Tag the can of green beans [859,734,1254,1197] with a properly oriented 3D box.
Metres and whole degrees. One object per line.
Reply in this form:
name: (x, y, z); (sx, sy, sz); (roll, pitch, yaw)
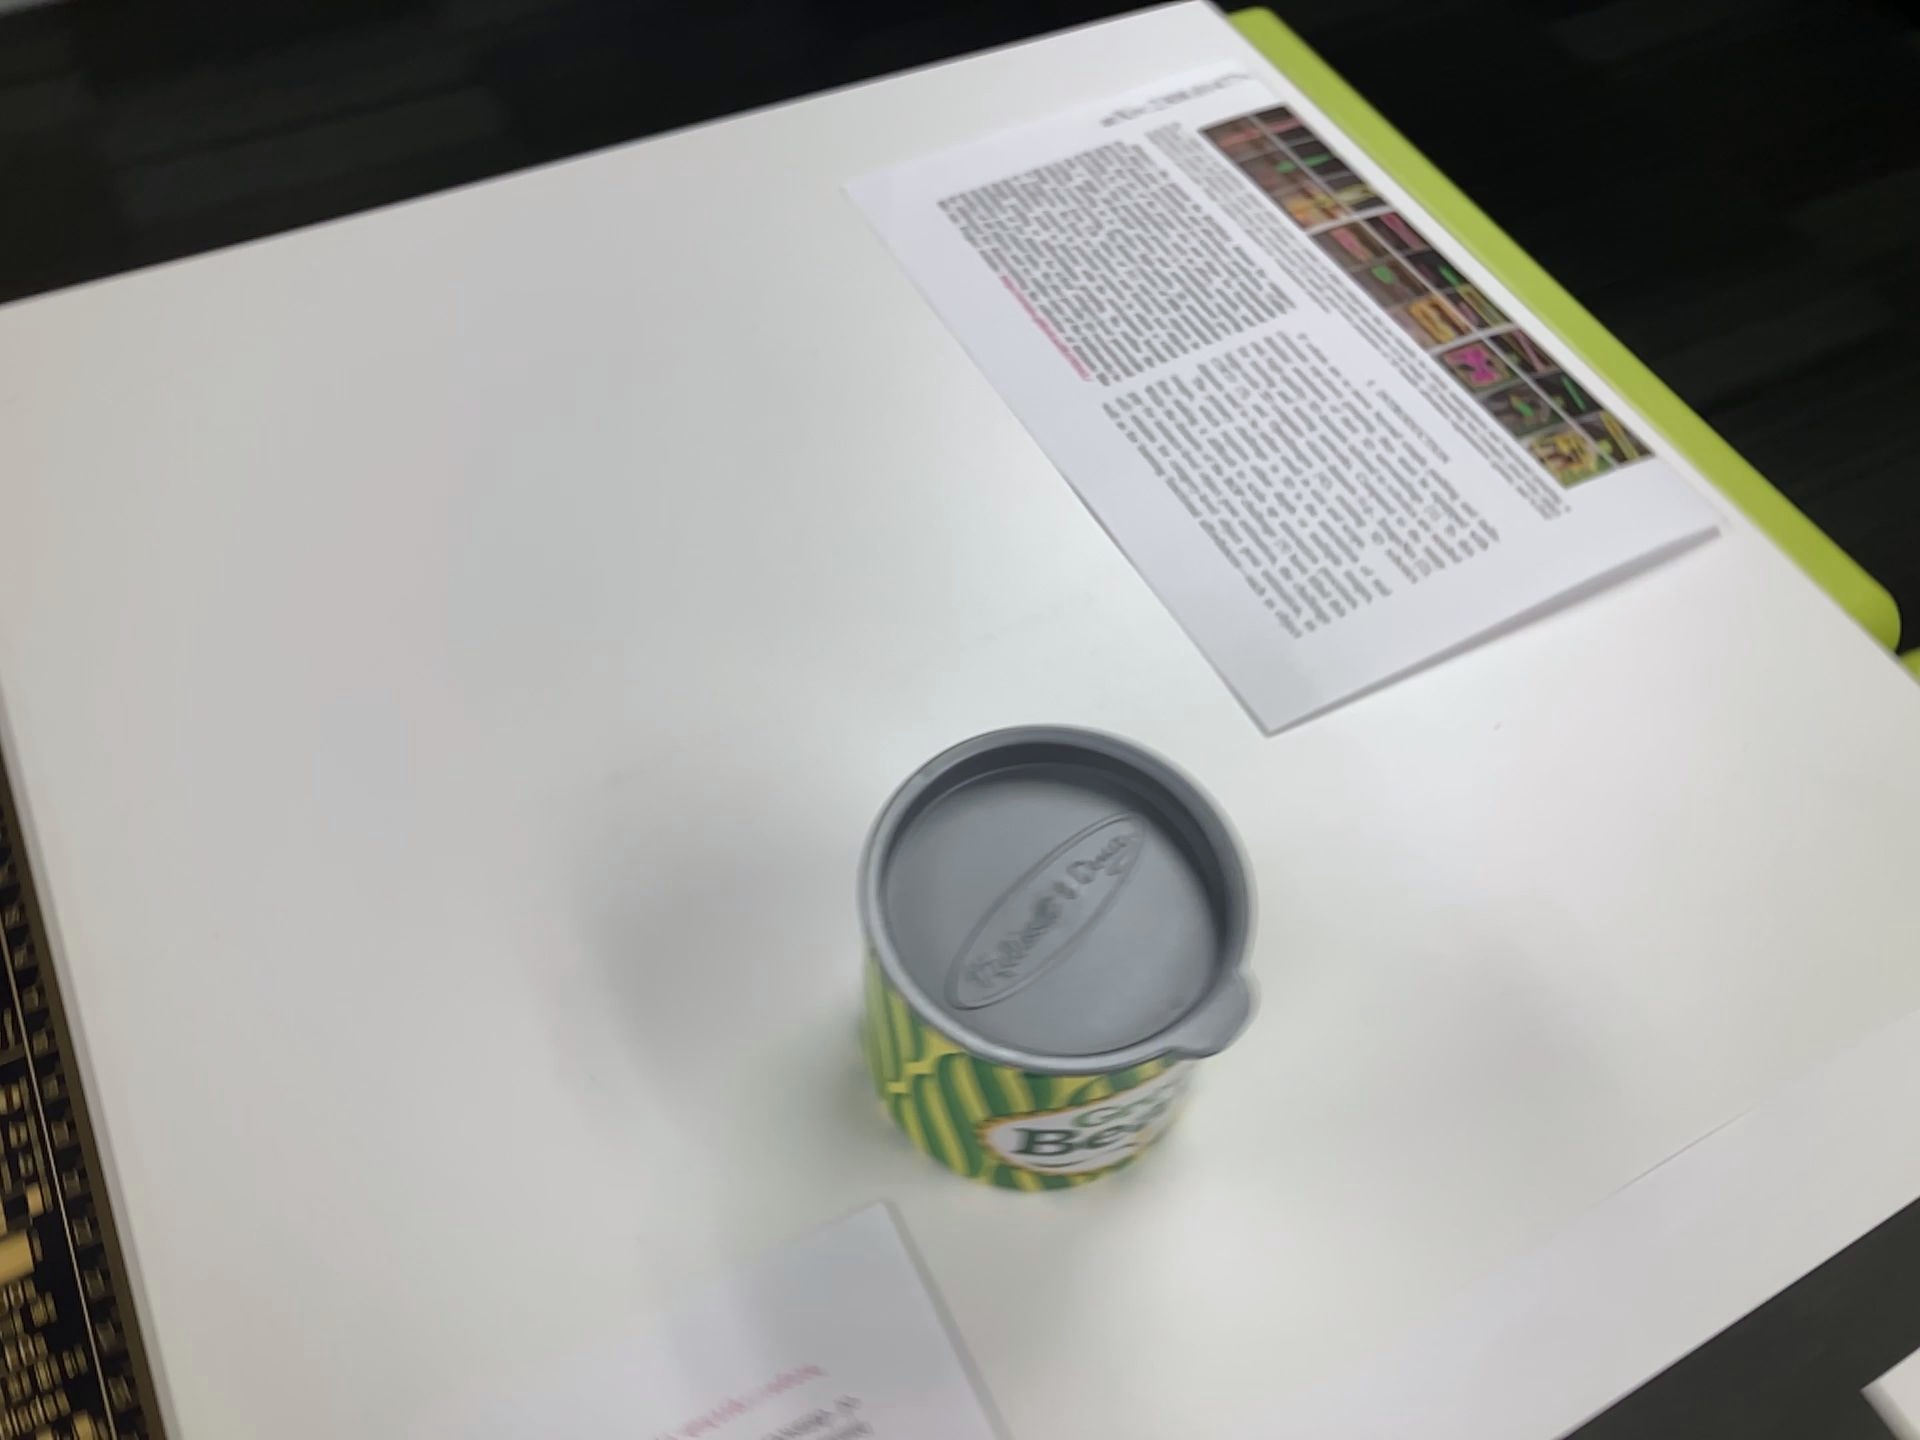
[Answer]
can of green beans: (0.015, 0.046, 0.292); (0.071, 0.058, 0.071); (1, 55, -2)
